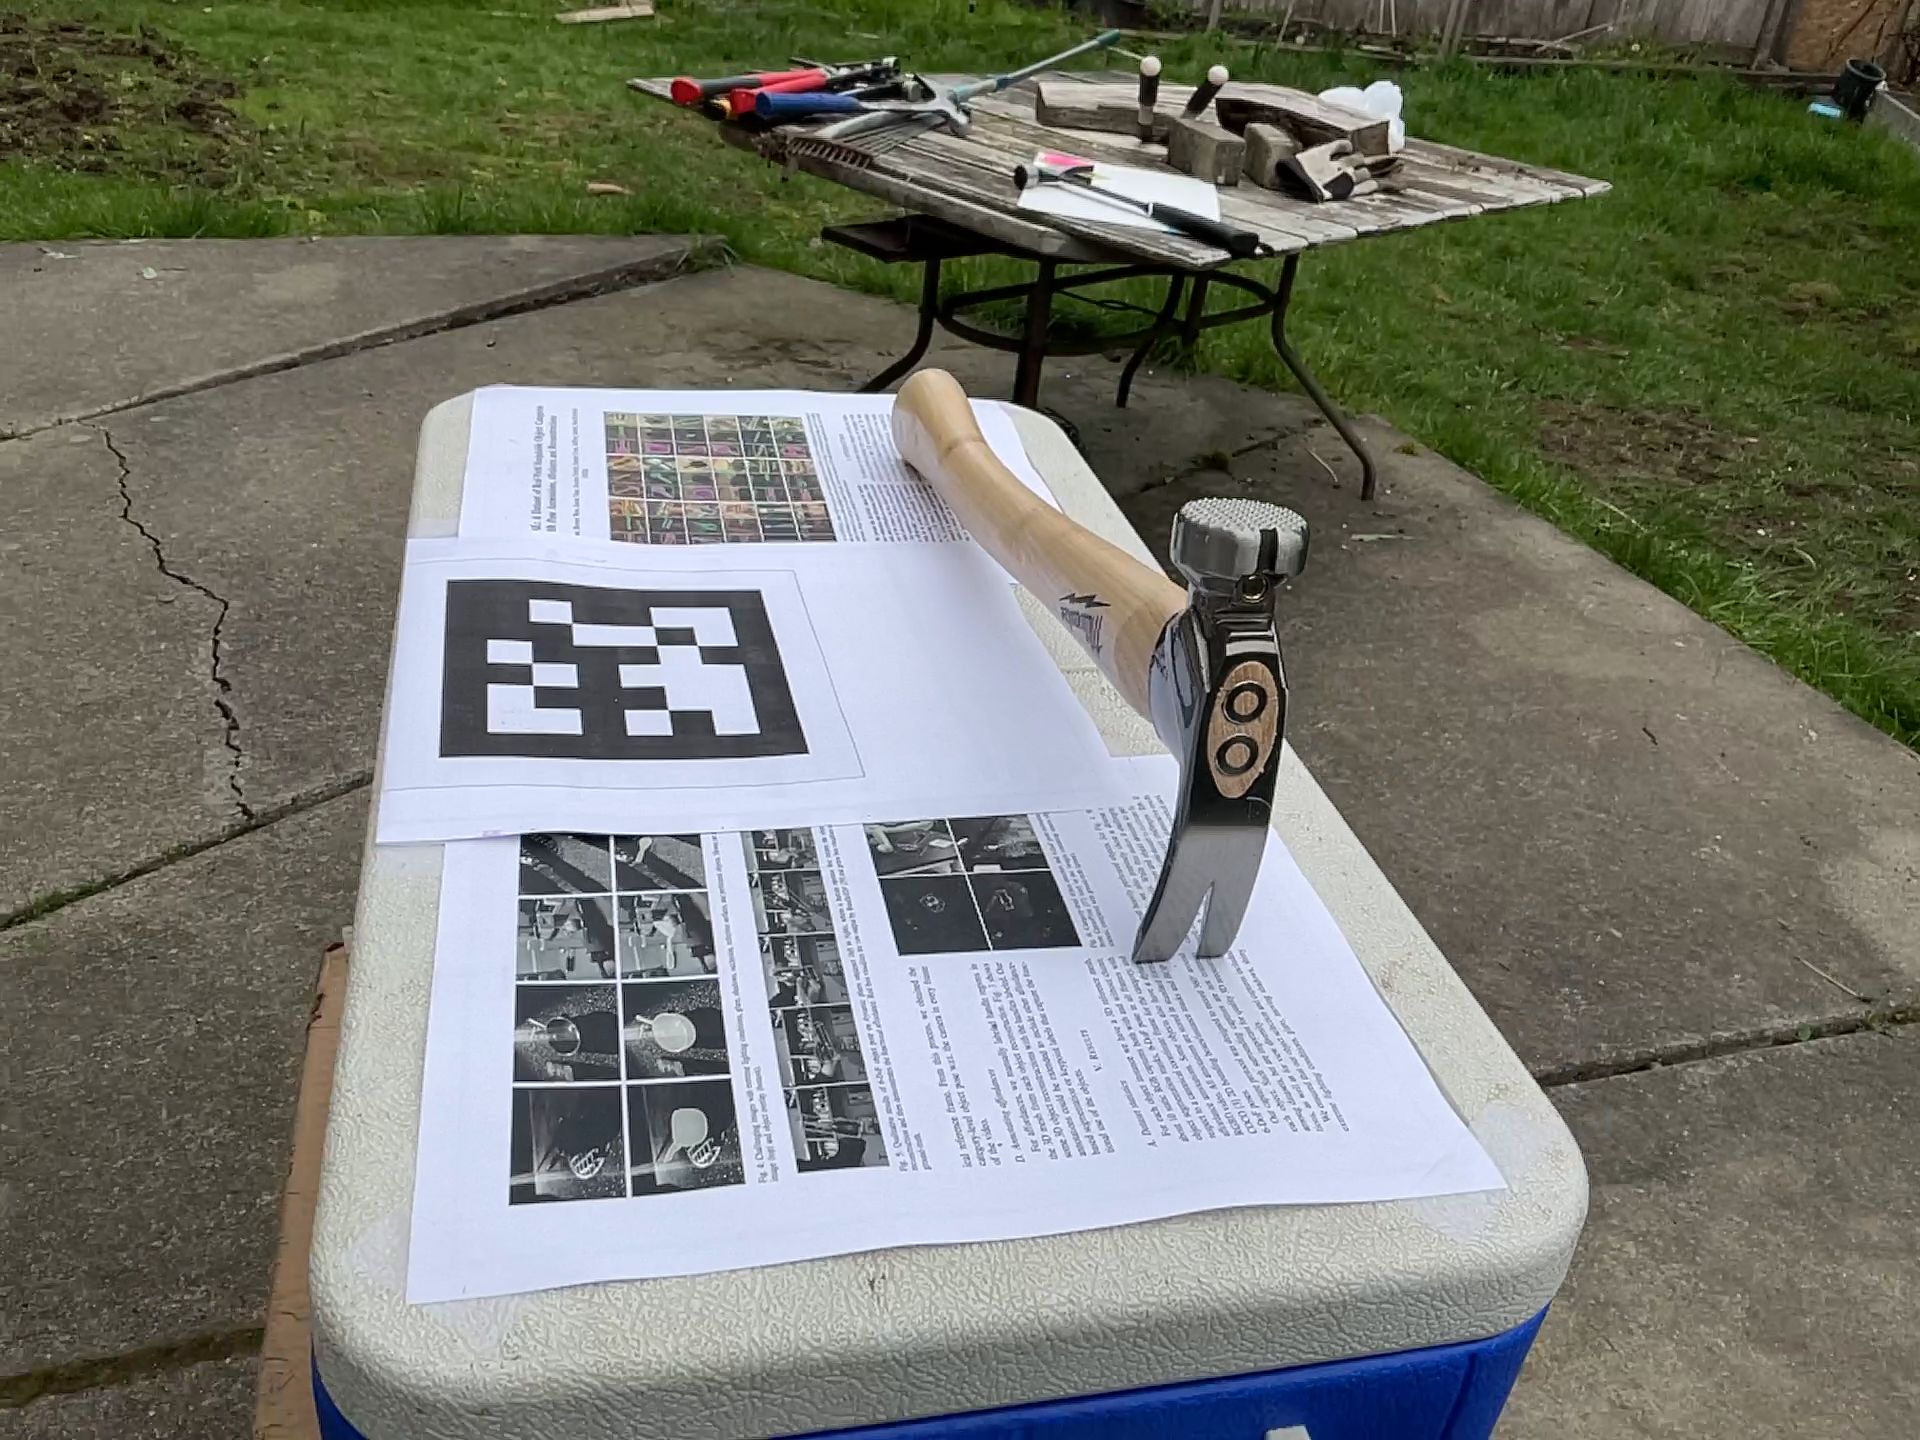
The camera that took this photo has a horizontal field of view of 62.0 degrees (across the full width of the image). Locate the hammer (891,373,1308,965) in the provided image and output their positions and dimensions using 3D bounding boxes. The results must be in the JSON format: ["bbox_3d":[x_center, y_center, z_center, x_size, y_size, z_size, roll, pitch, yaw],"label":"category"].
[{"bbox_3d":[0.029,-0.062,0.646,0.038,0.146,0.411,-1,22,-15],"label":"hammer"}]
